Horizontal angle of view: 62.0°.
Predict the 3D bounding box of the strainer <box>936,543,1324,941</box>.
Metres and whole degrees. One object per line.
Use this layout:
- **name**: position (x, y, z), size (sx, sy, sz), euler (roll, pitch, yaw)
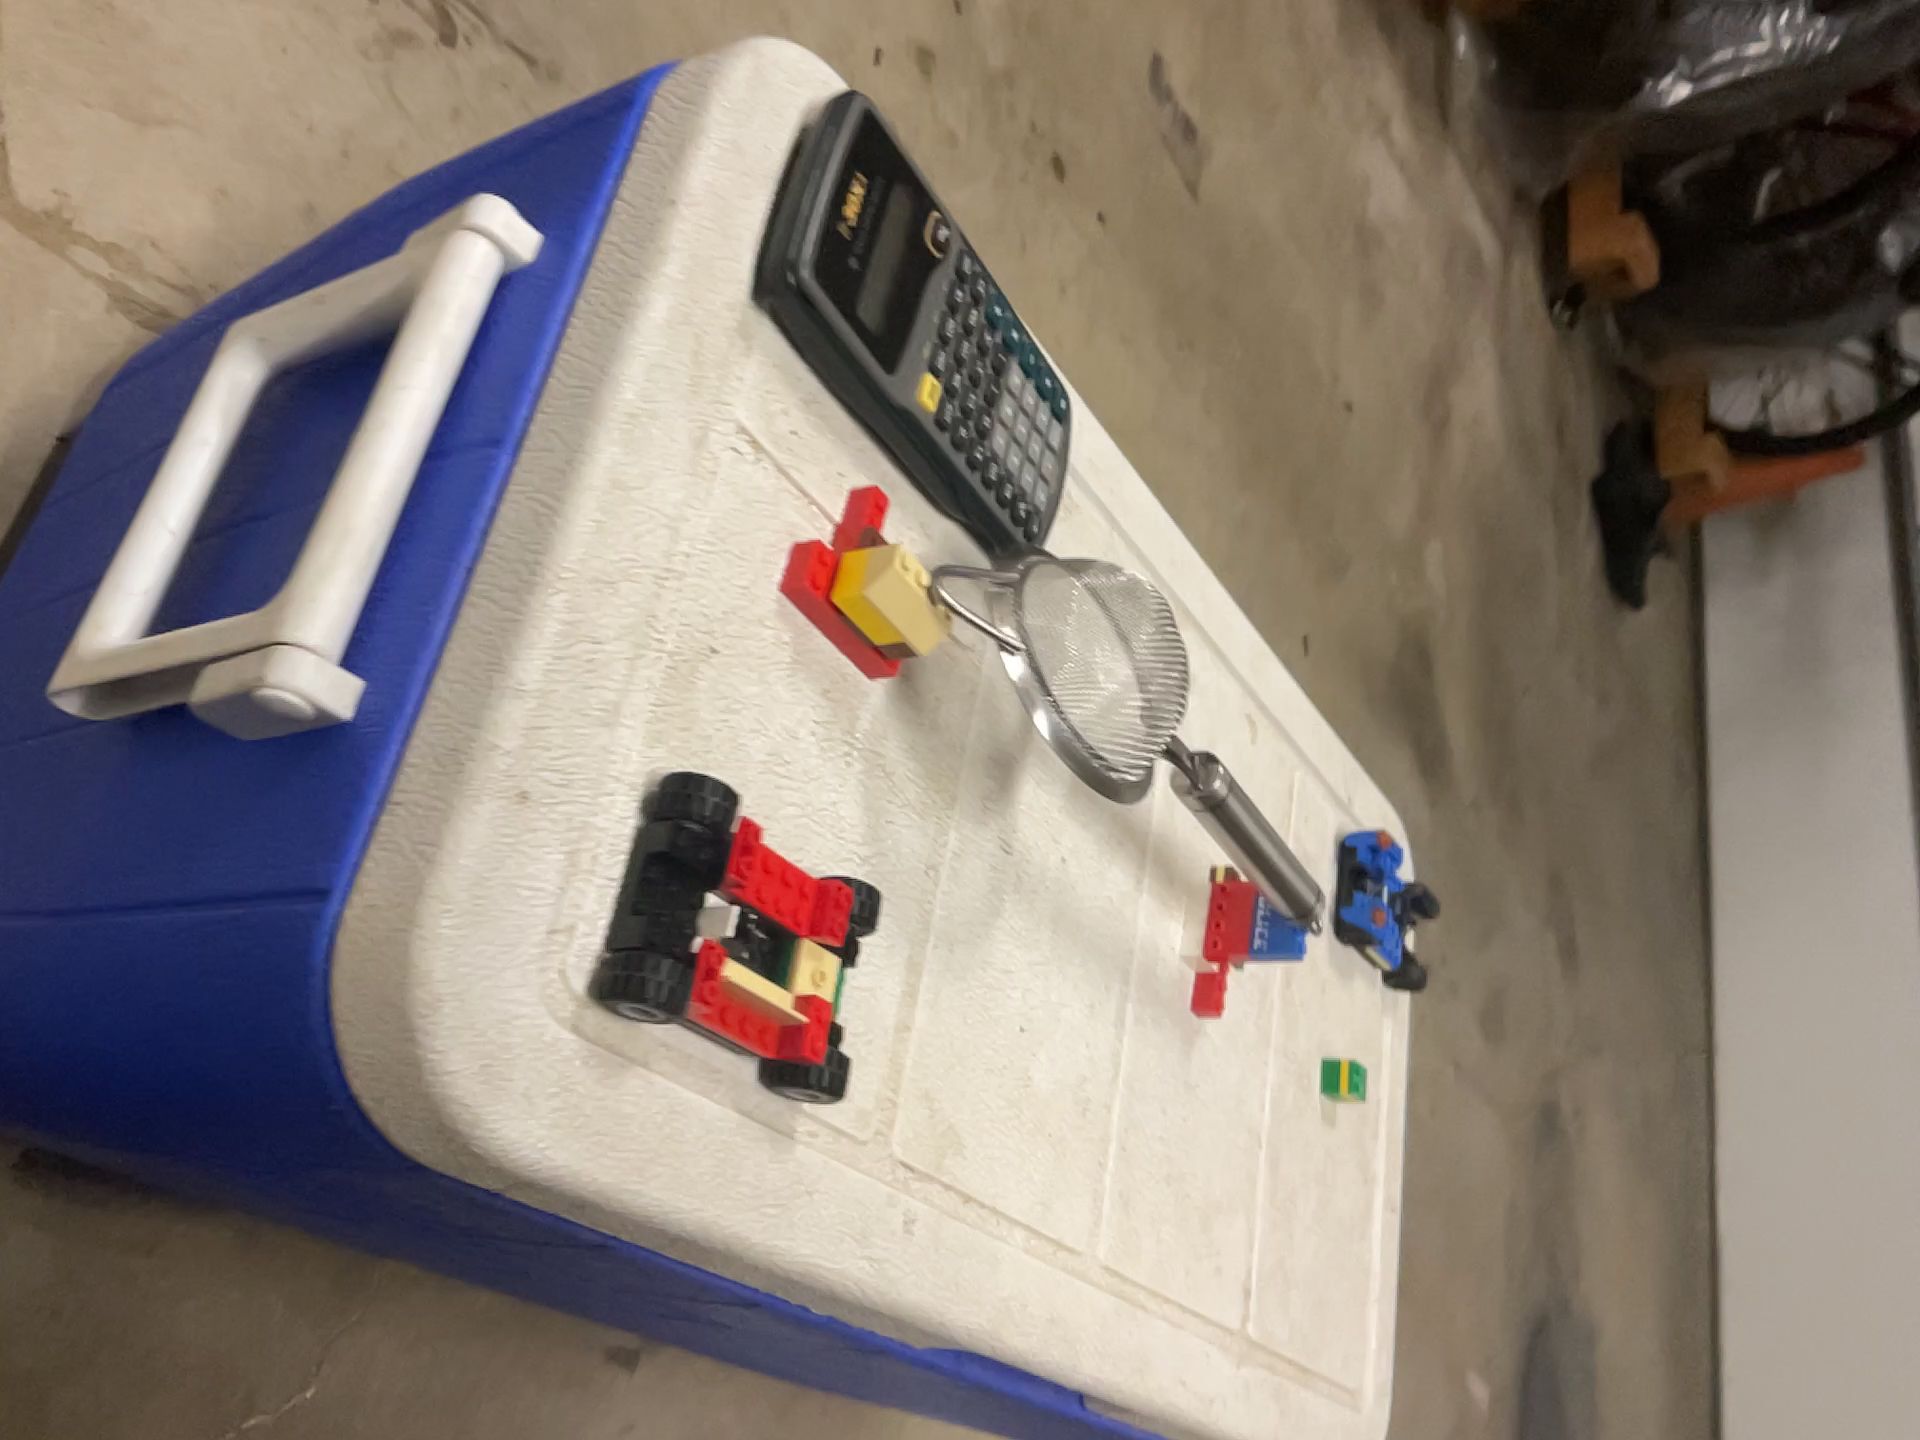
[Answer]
- **strainer**: position (0.077, 0.015, 0.527), size (0.258, 0.050, 0.087), euler (45, 32, -46)
